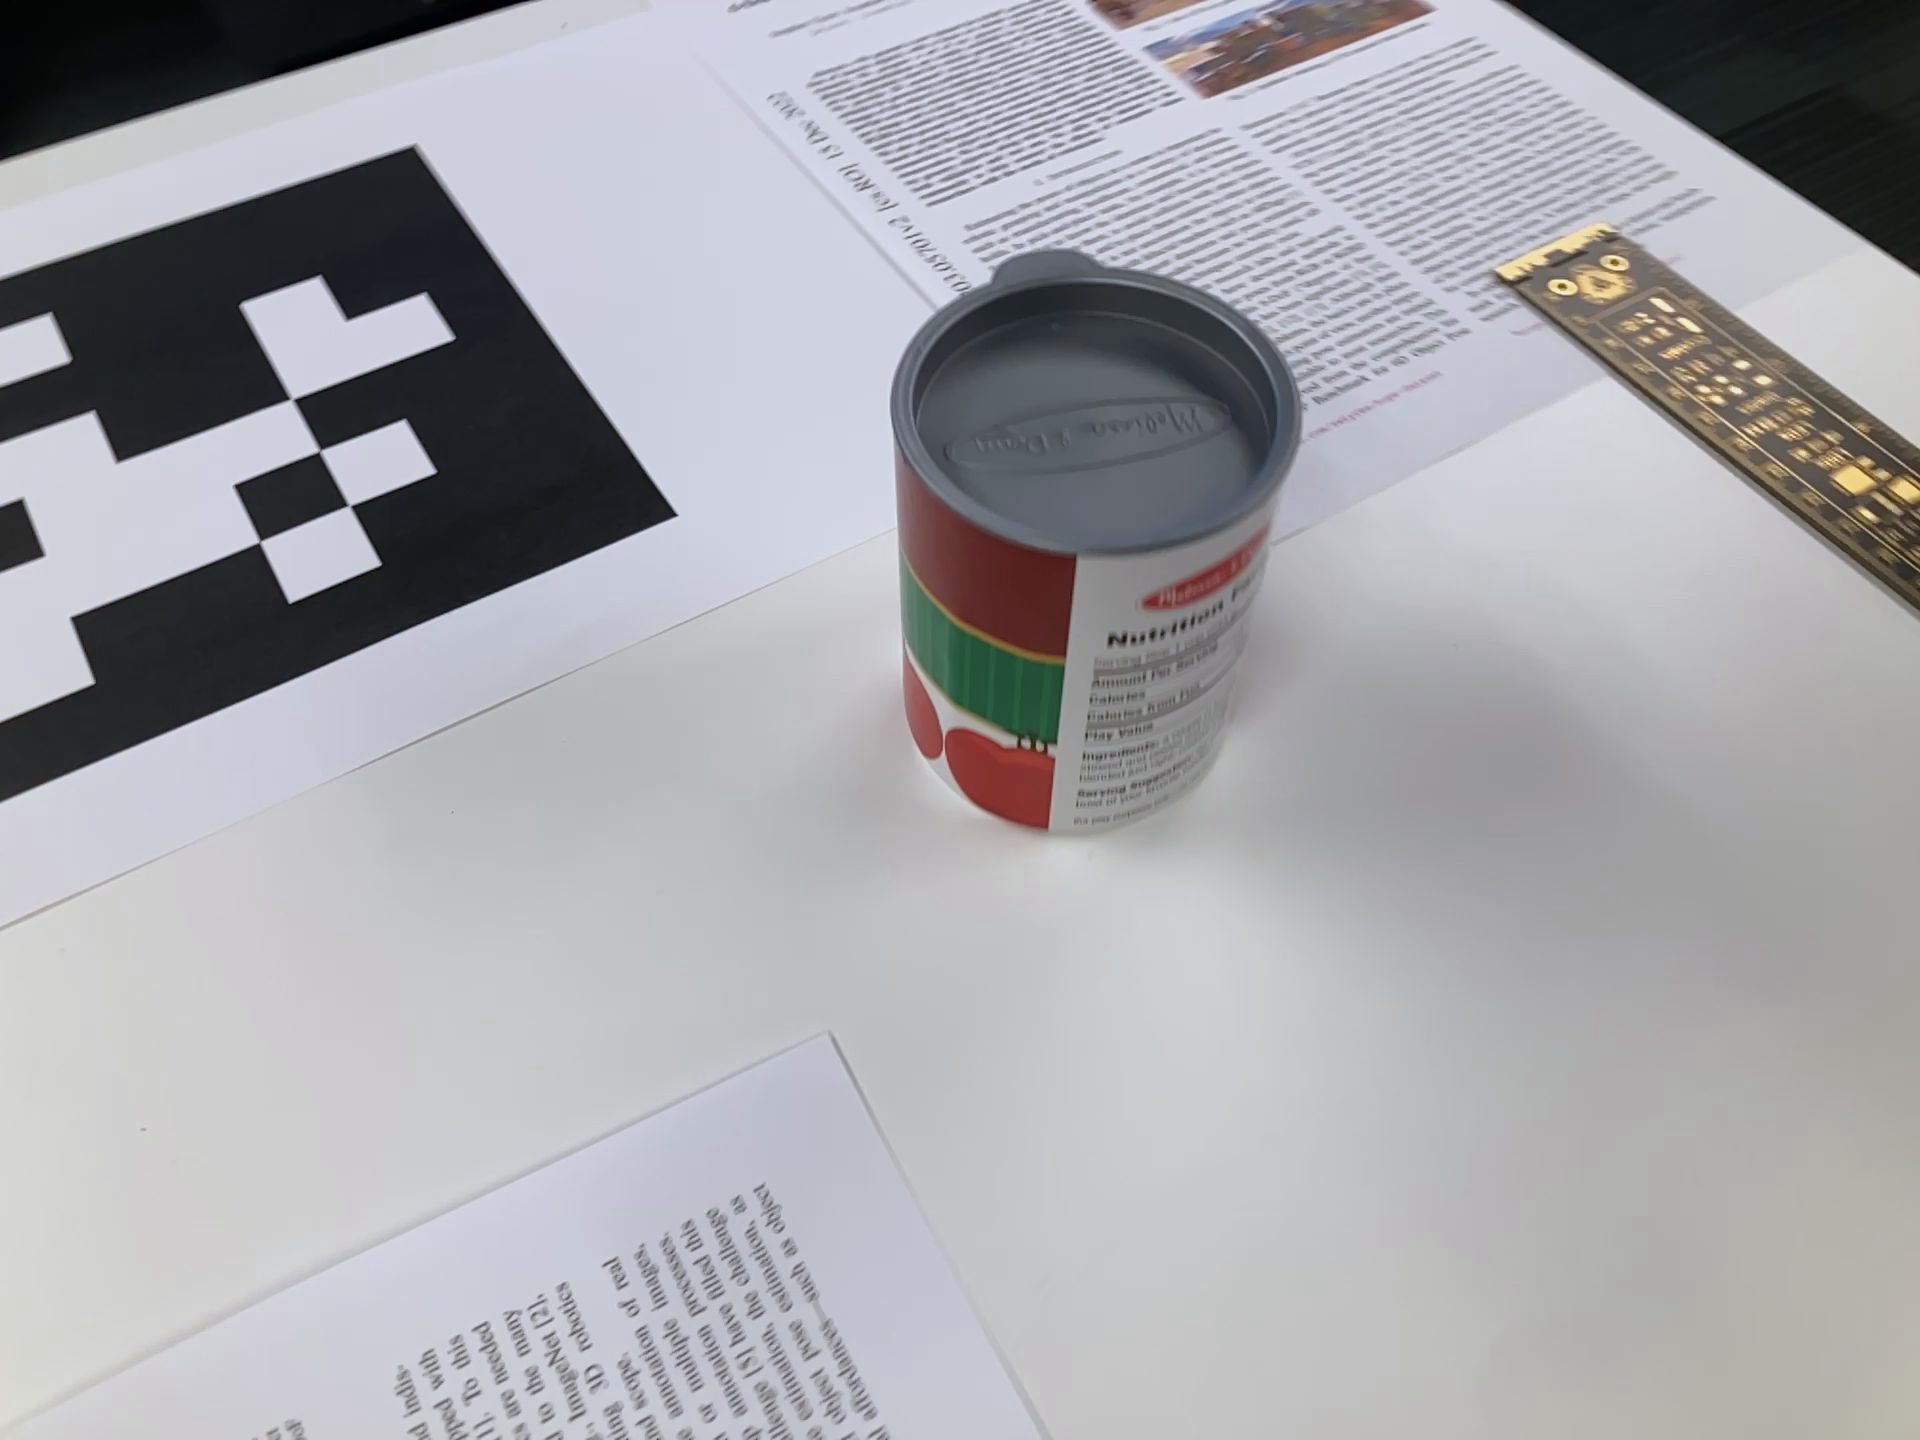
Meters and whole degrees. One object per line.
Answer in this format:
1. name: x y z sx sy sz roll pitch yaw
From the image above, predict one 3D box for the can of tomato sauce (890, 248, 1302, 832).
1. can of tomato sauce: 0.020 -0.030 0.290 0.071 0.083 0.071 0 54 -1
